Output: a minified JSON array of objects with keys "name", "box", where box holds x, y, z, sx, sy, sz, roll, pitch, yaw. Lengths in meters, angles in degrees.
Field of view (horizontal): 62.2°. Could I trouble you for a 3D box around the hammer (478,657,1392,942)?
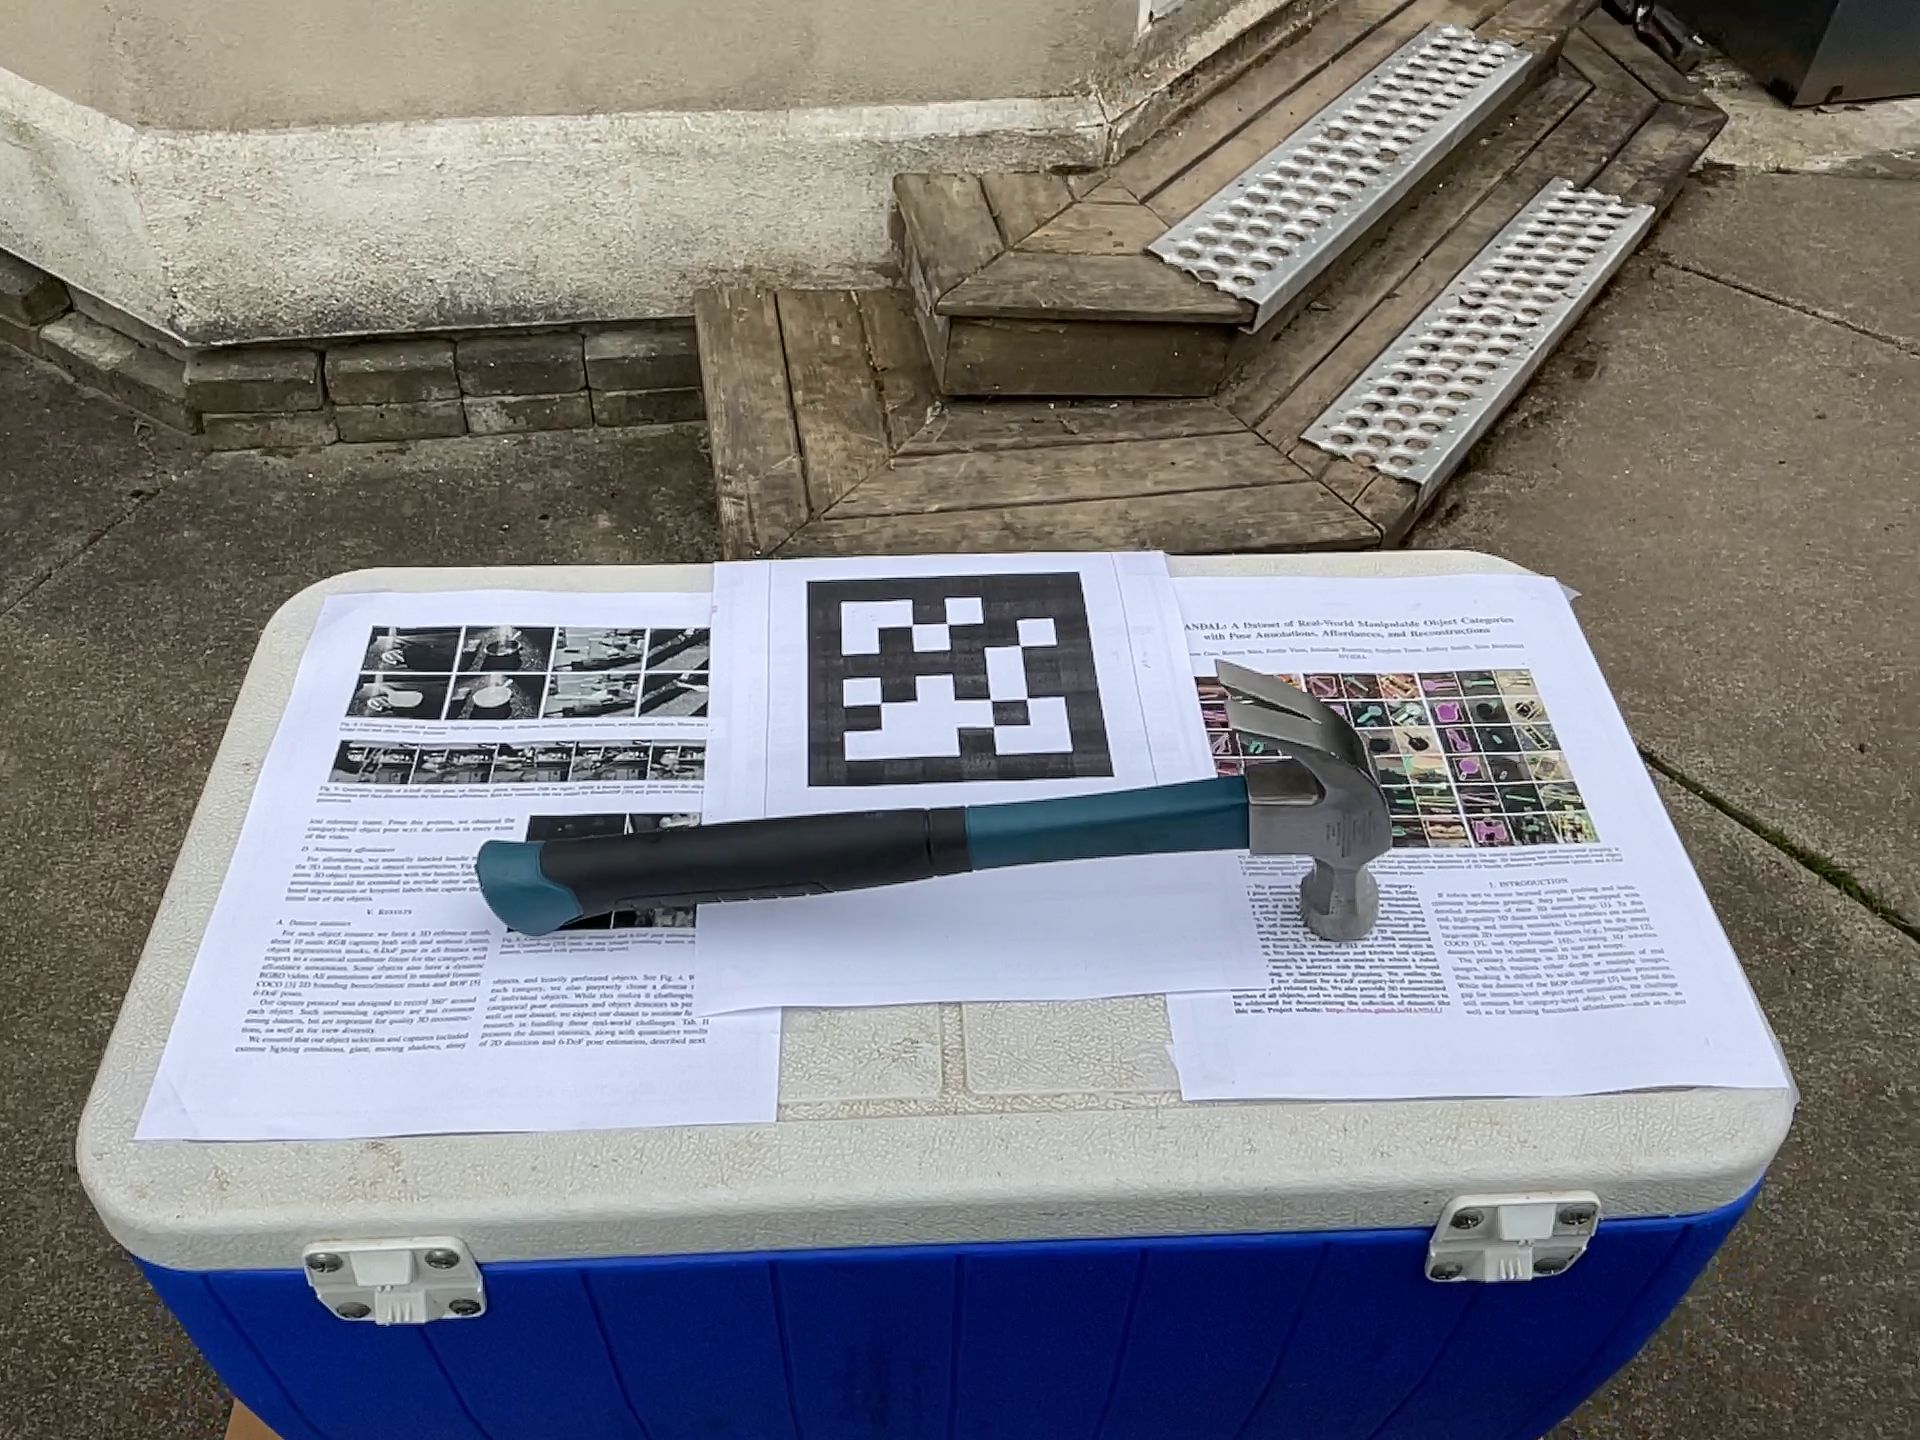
[{"name":"hammer","box":[-0.010,0.046,0.585,0.331,0.128,0.033,-6,43,4]}]
